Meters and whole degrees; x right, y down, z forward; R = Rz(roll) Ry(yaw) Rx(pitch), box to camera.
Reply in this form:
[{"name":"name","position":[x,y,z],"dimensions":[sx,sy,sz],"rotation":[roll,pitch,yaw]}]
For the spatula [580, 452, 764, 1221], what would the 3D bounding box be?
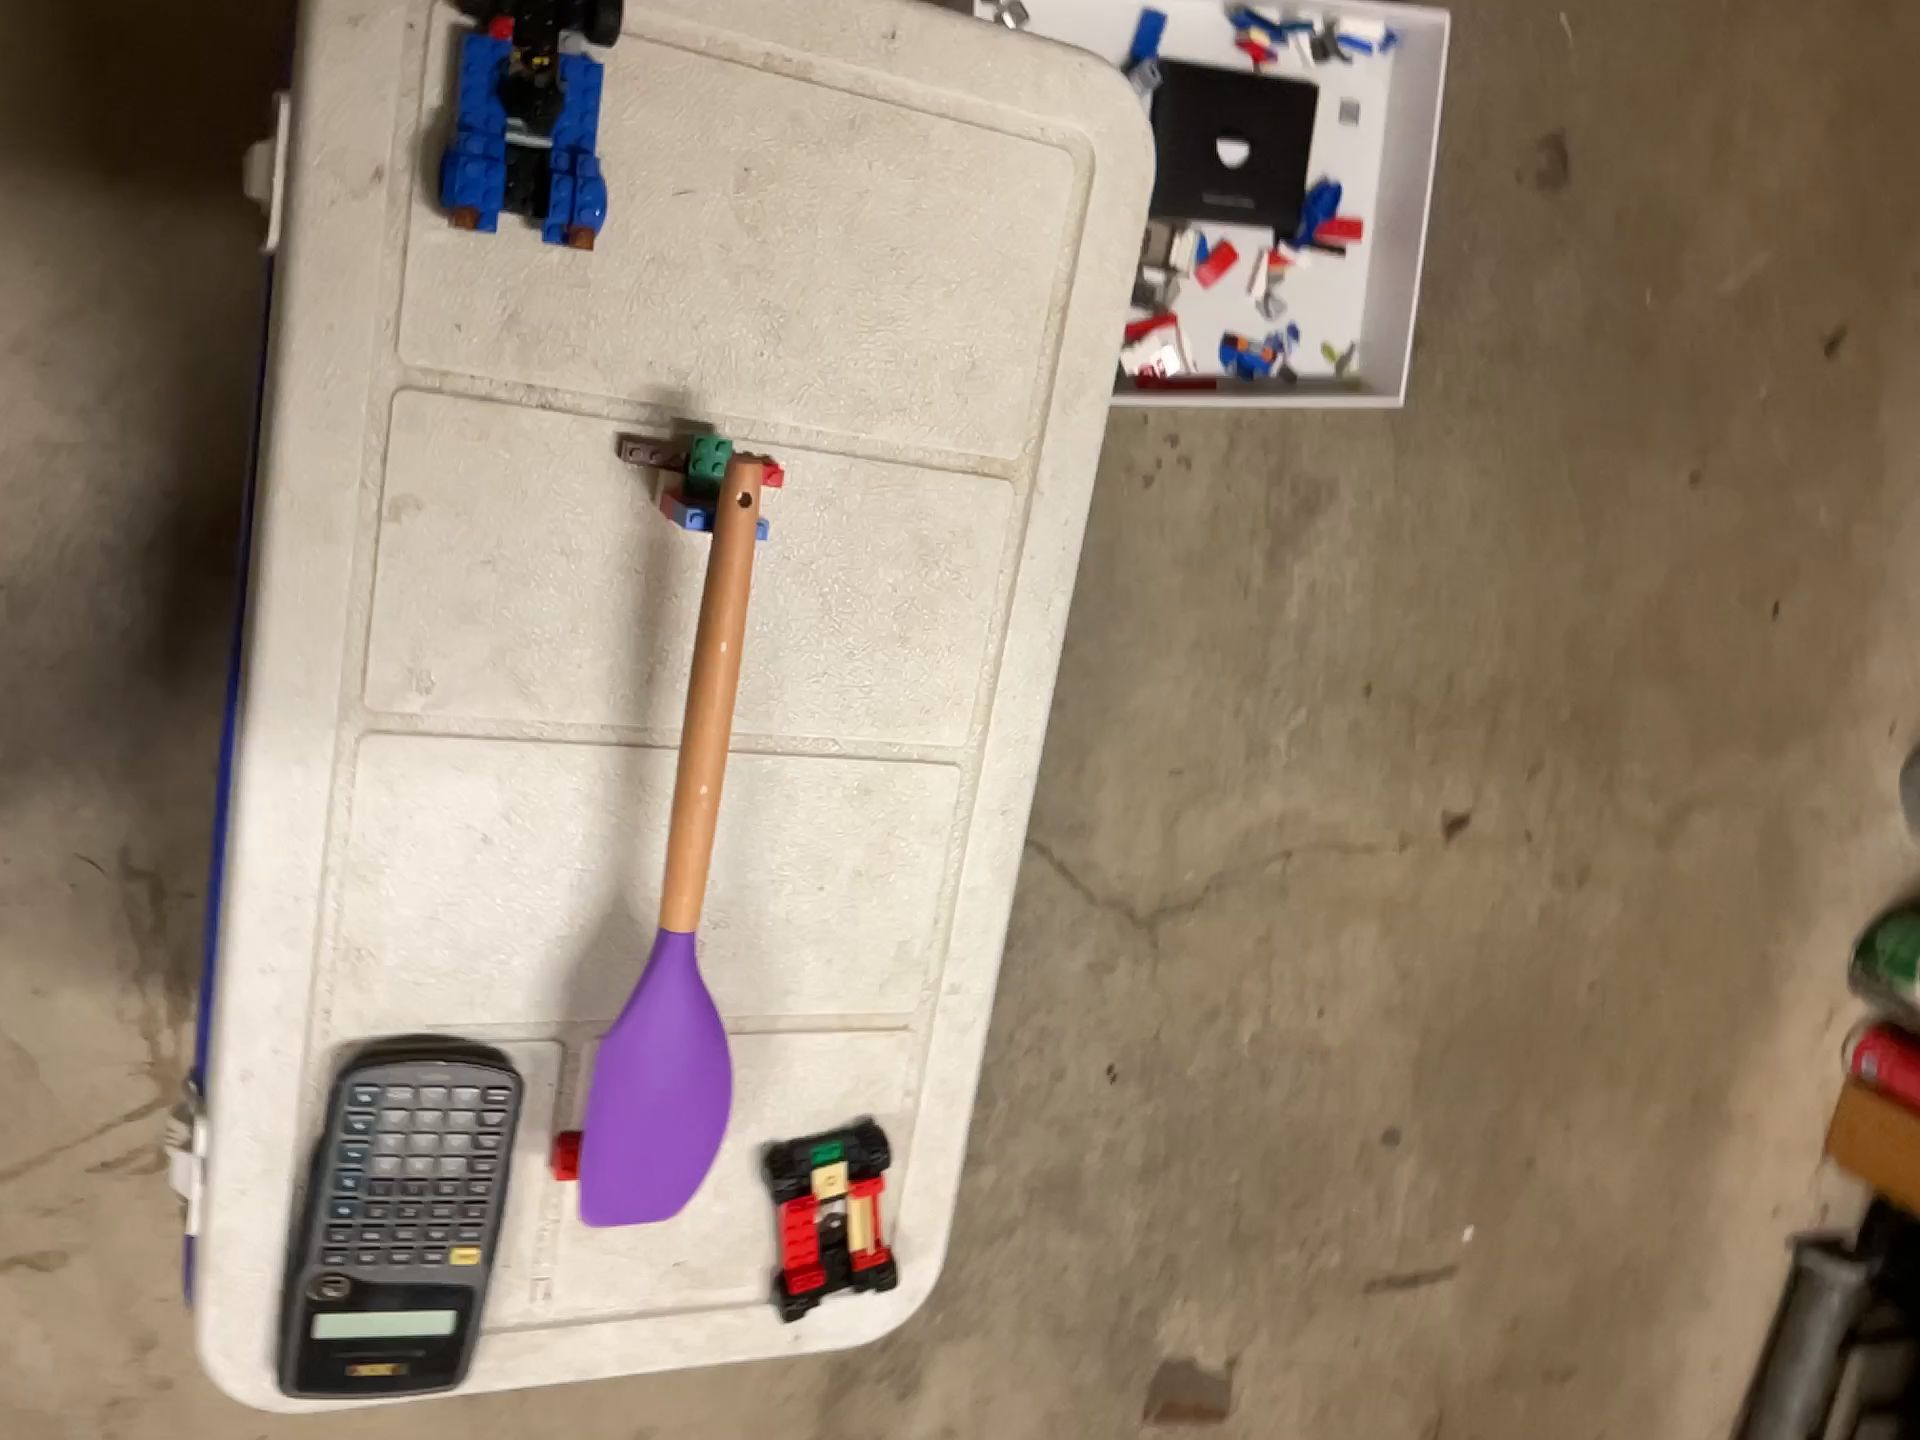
[{"name":"spatula","position":[-0.103,0.054,0.616],"dimensions":[0.060,0.018,0.315],"rotation":[2,107,-26]}]
